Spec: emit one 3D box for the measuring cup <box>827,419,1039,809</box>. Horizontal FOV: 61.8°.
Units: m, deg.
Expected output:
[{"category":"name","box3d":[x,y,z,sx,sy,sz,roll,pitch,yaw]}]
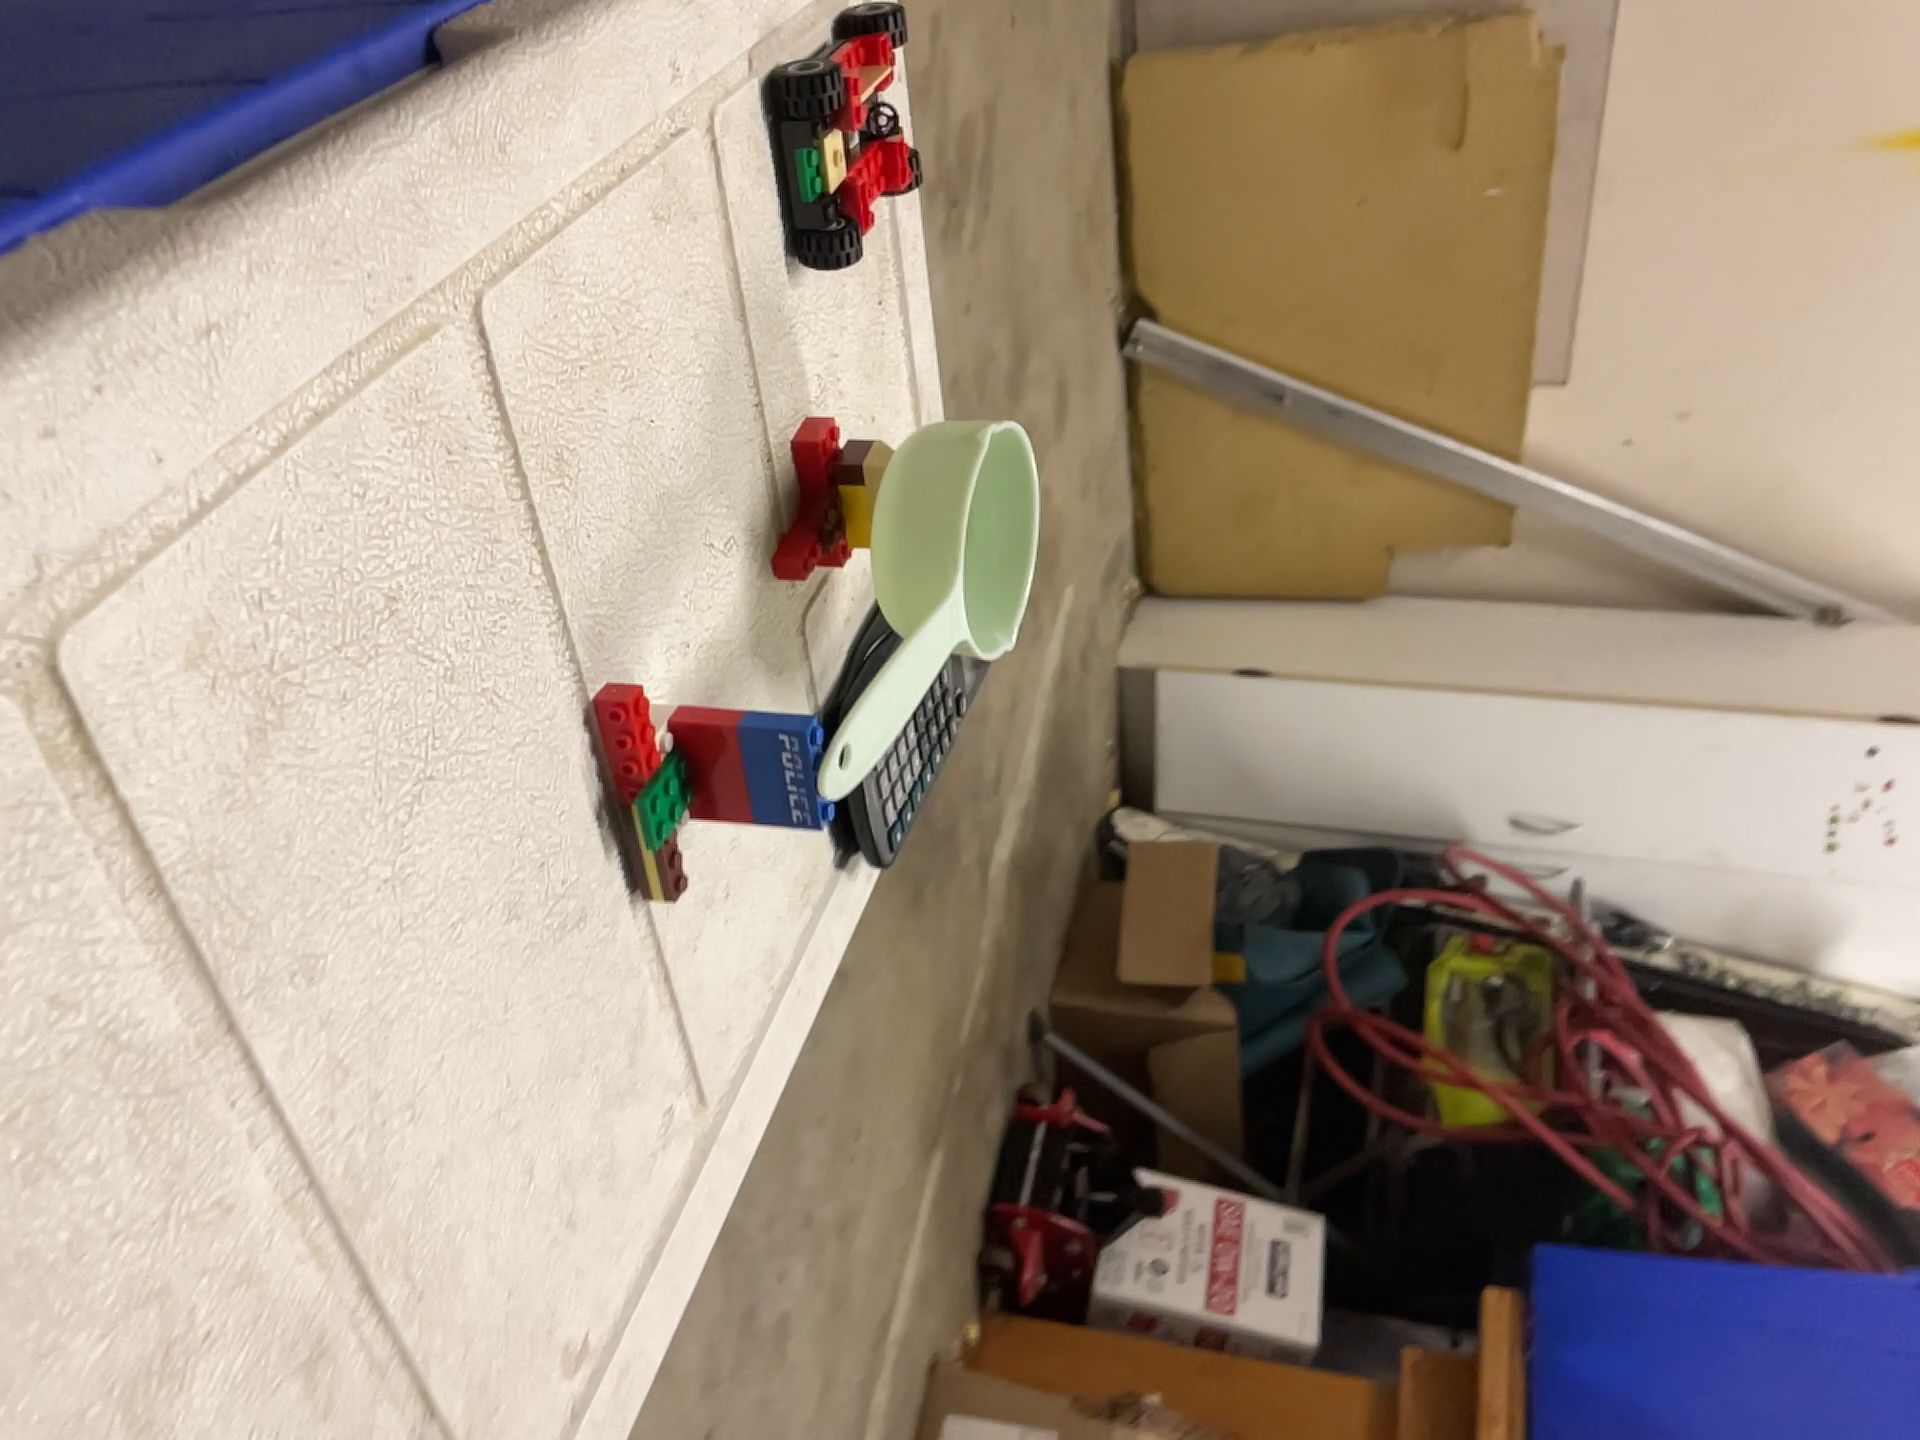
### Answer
[{"category":"measuring cup","box3d":[-0.018,-0.032,0.483,0.168,0.038,0.083,-60,152,-46]}]
